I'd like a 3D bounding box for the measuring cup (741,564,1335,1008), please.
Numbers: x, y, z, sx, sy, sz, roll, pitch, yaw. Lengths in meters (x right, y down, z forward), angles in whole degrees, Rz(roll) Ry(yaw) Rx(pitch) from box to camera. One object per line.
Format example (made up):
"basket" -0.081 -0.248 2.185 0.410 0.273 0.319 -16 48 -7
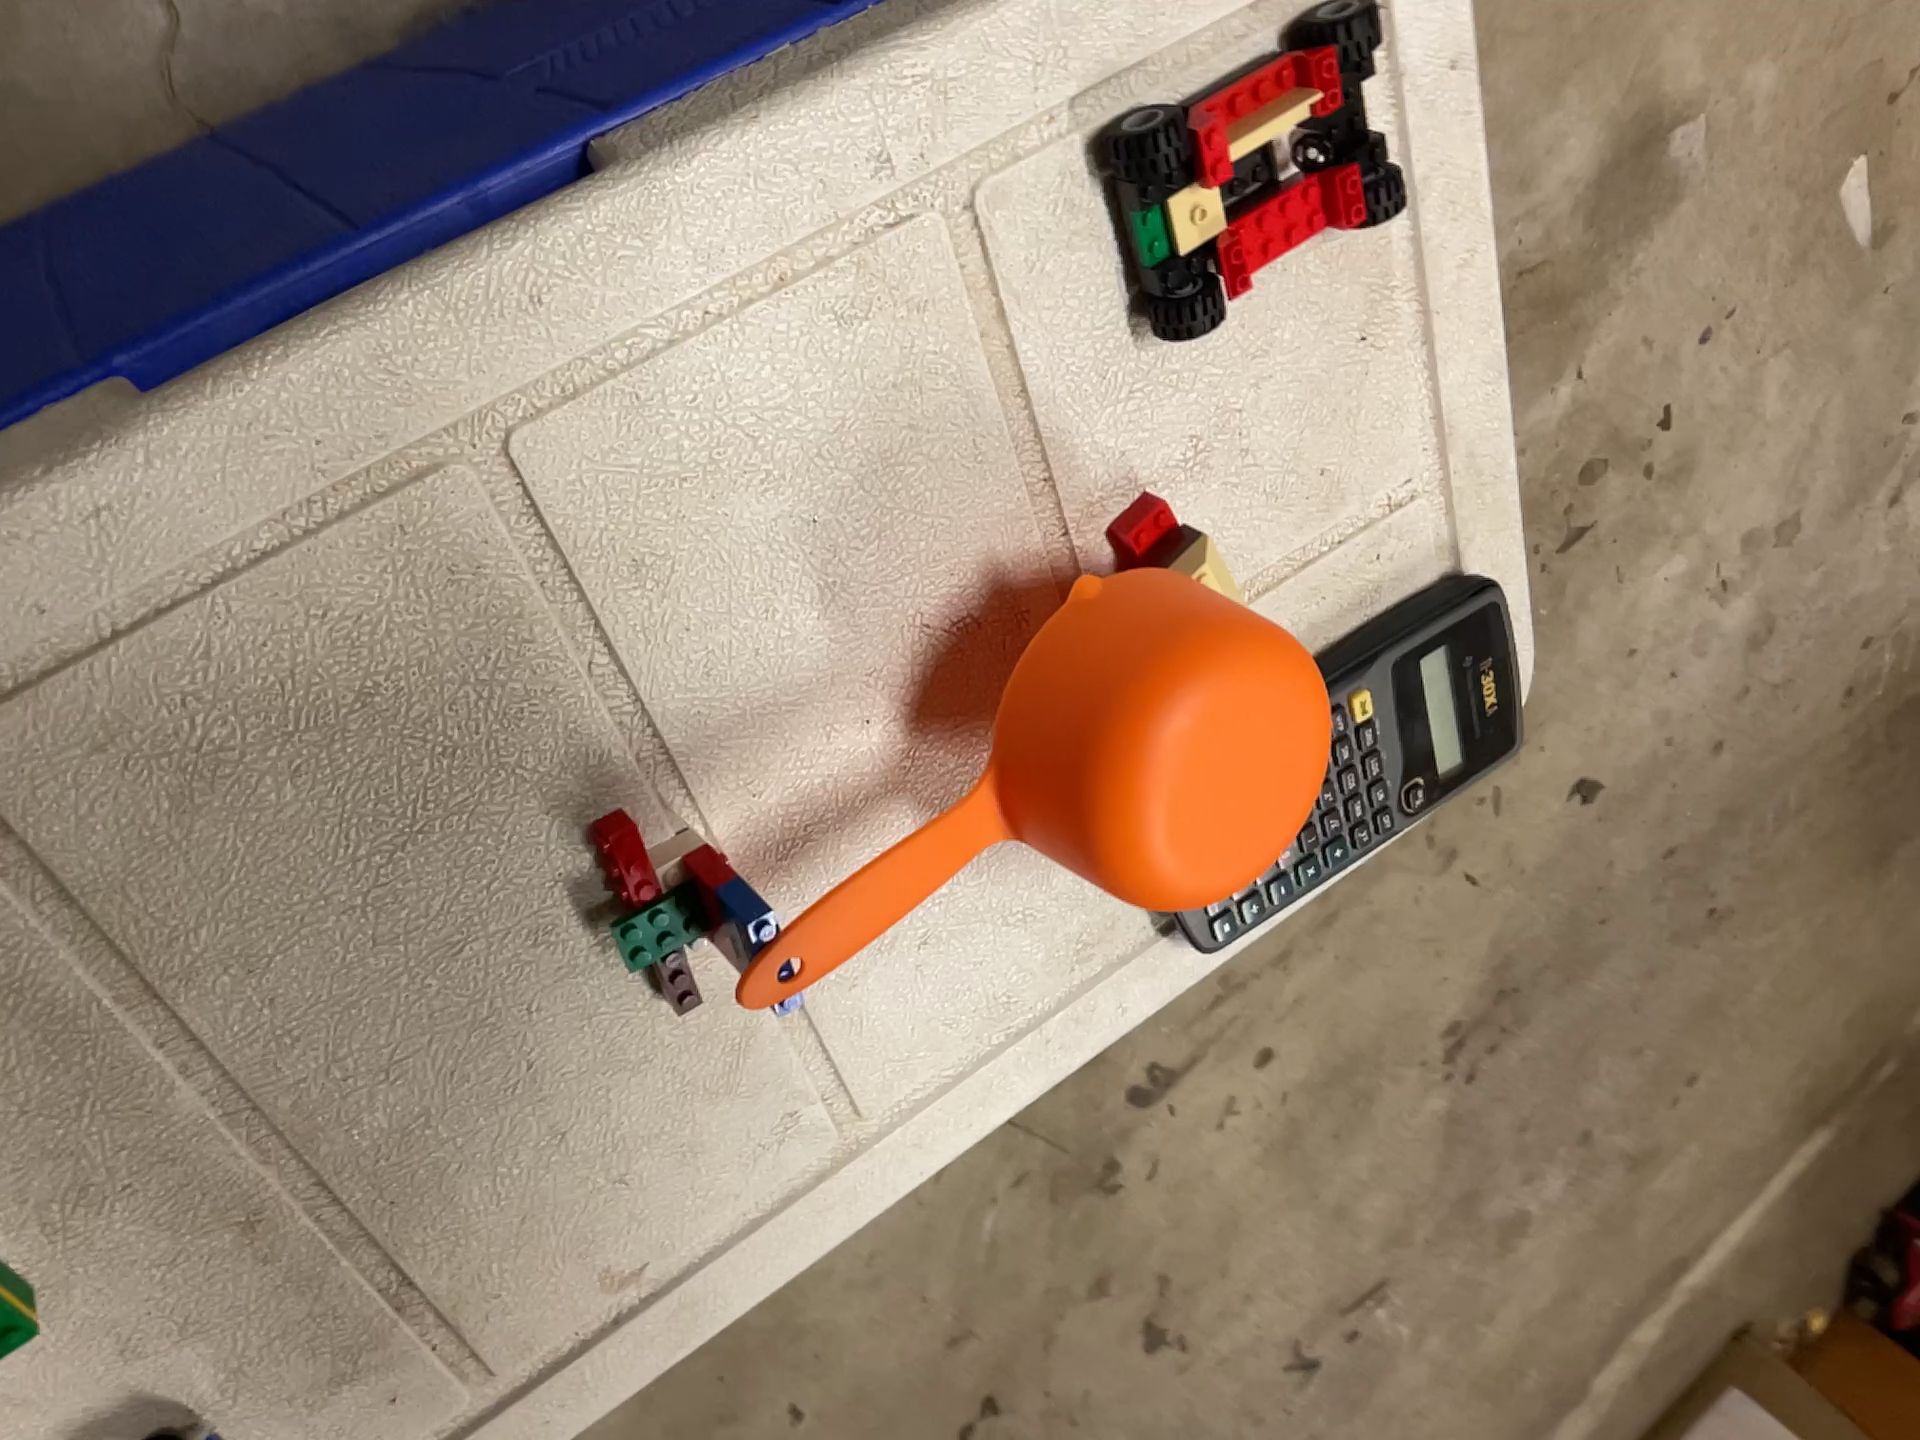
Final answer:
"measuring cup" 0.026 0.030 0.409 0.173 0.052 0.095 -35 128 -22
